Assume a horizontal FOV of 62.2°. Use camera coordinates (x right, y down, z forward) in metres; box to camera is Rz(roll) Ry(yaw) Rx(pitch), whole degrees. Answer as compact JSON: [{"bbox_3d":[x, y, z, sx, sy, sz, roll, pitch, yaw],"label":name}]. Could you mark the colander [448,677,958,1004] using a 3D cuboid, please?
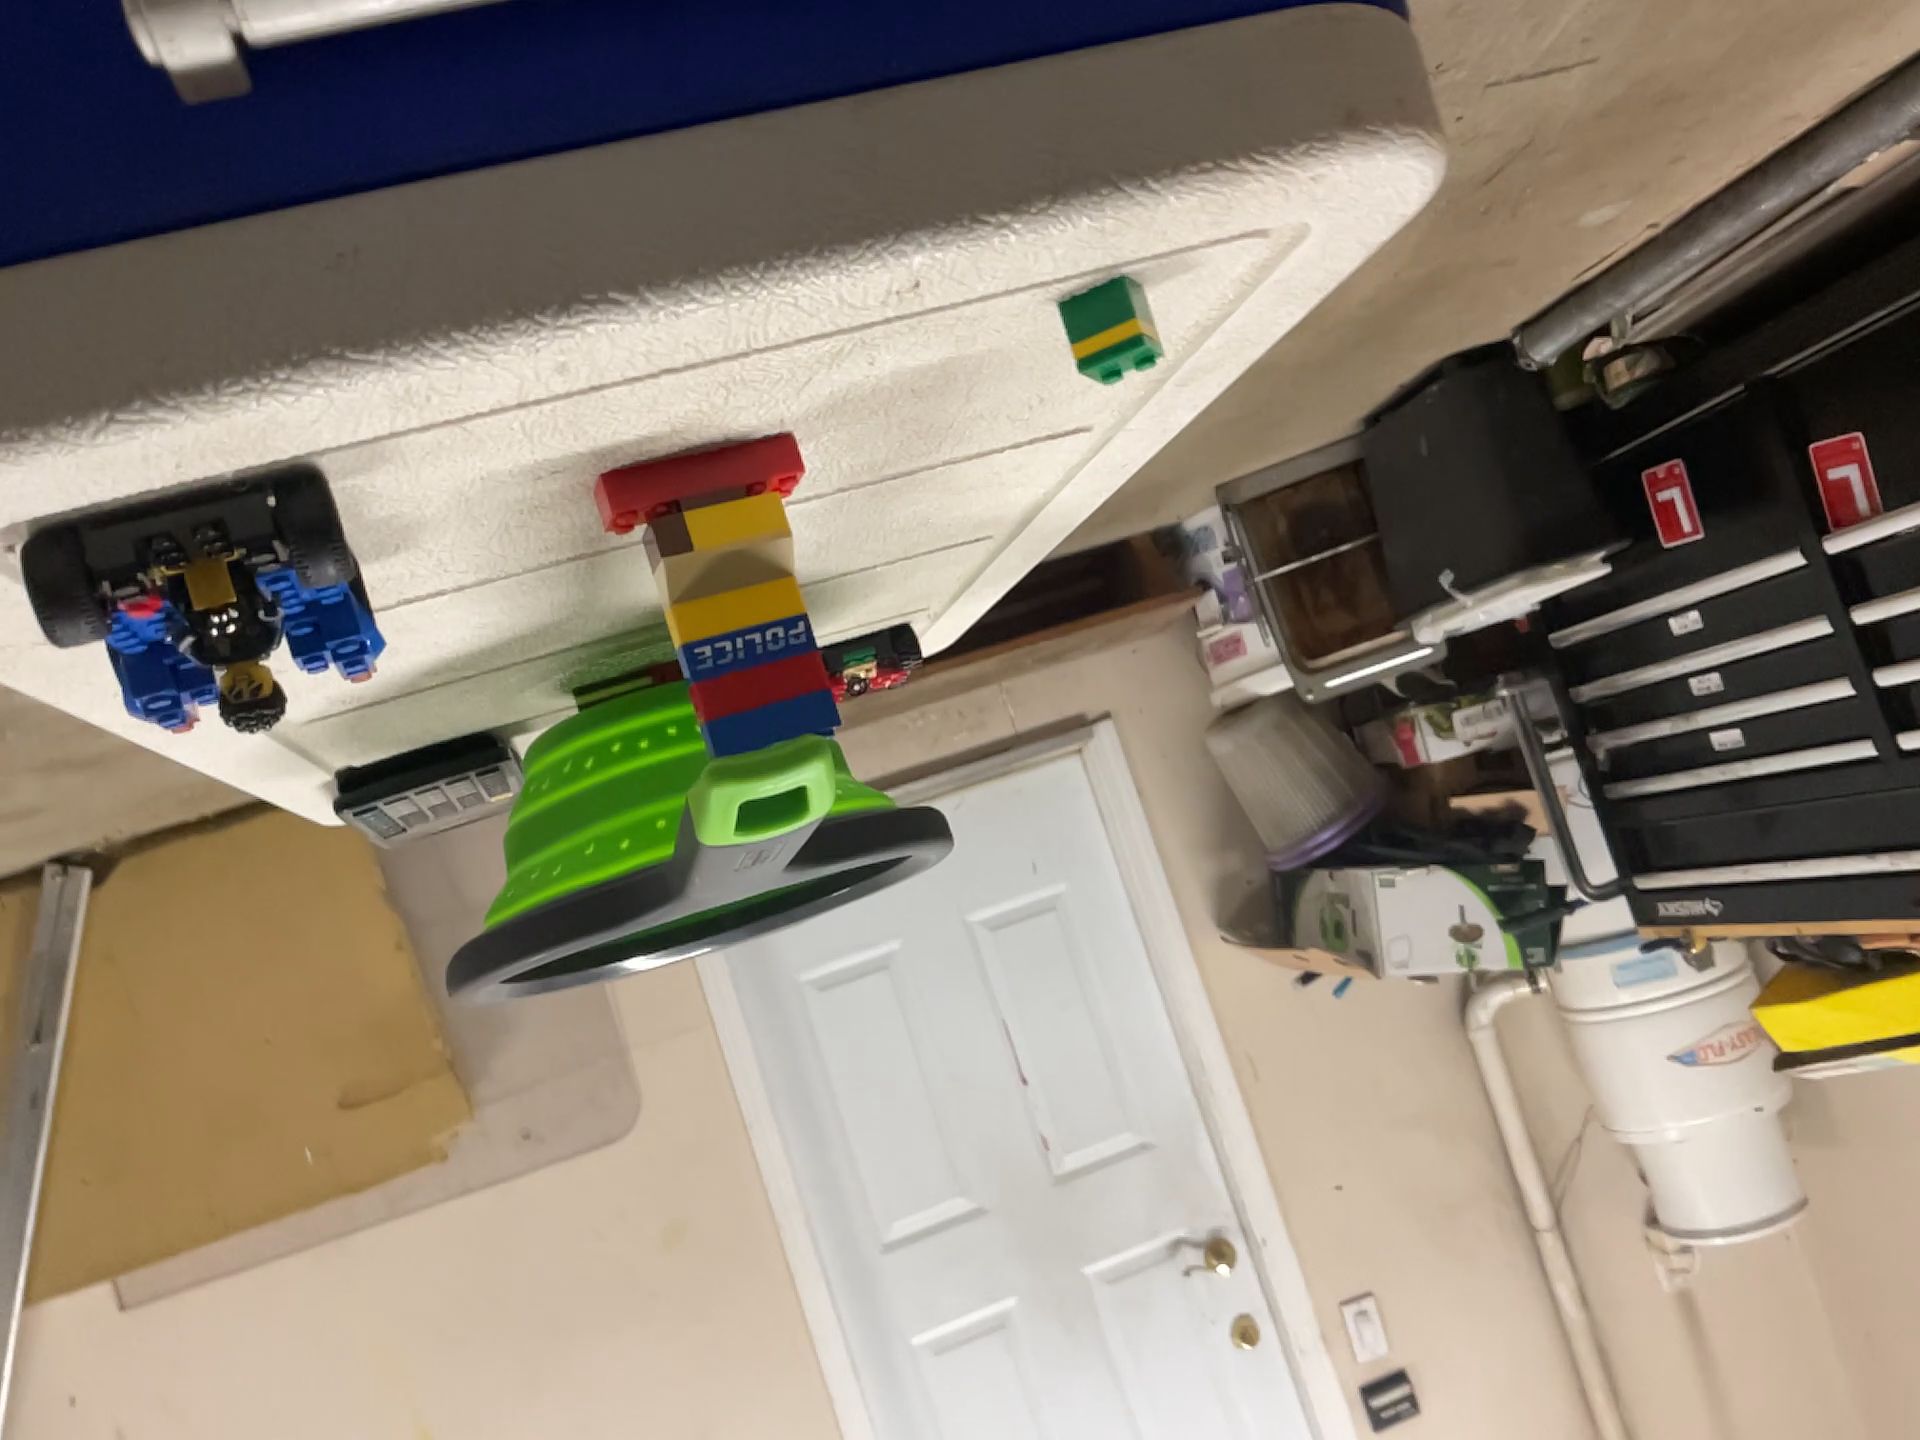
[{"bbox_3d":[-0.094,0.023,0.568,0.205,0.094,0.396,-14,170,-15],"label":"colander"}]
